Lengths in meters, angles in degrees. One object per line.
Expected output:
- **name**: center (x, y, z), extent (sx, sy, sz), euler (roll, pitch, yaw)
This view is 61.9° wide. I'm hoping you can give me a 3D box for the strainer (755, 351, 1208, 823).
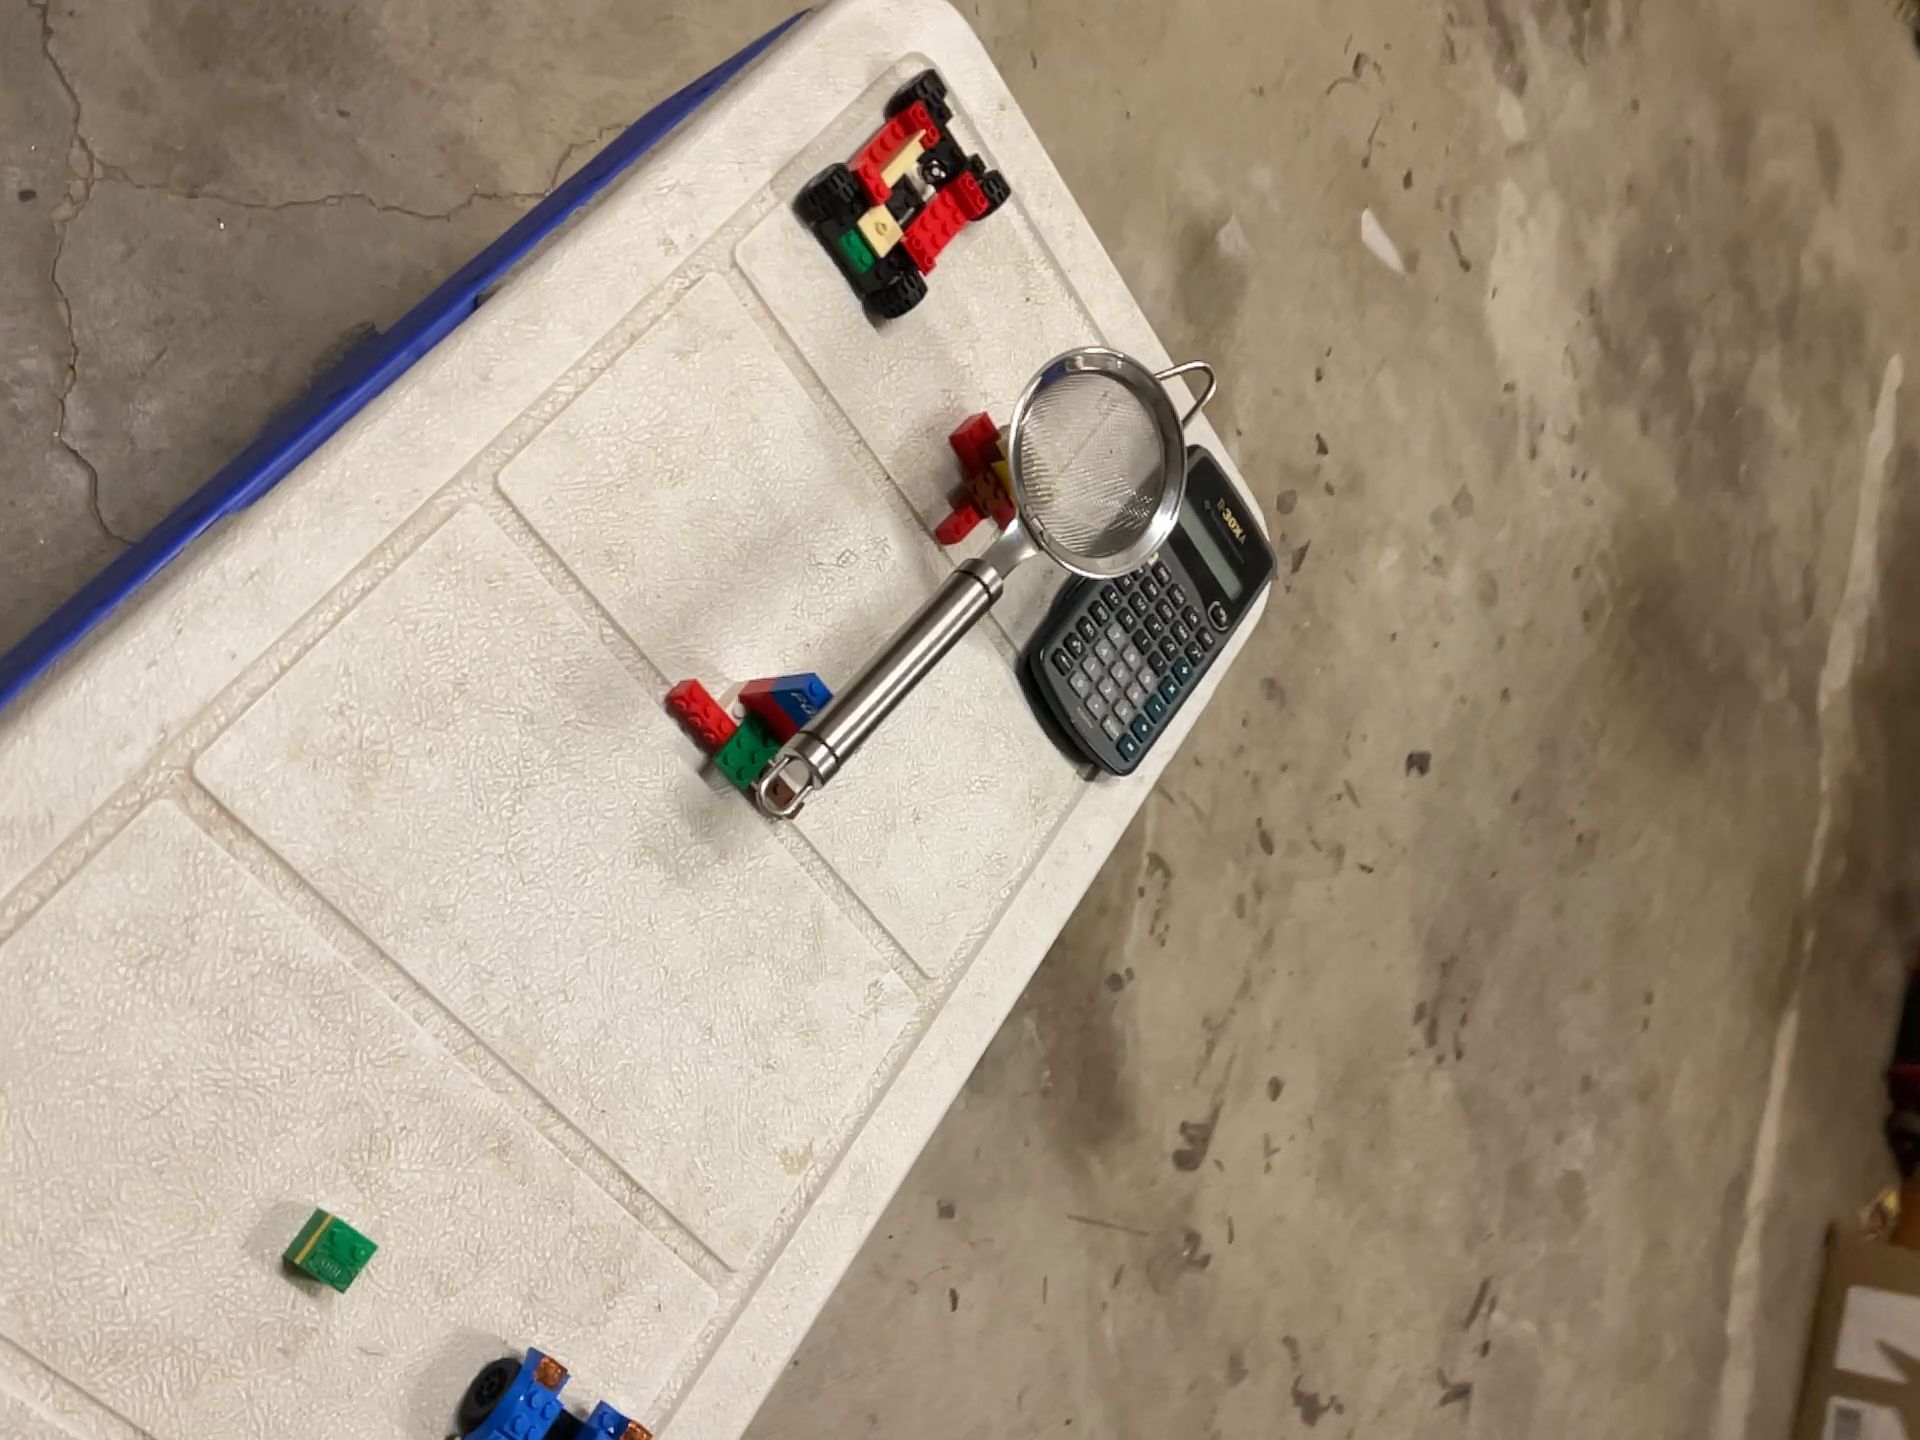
- **strainer**: center (0.008, -0.053, 0.581), extent (0.259, 0.050, 0.086), euler (-48, 116, -31)
